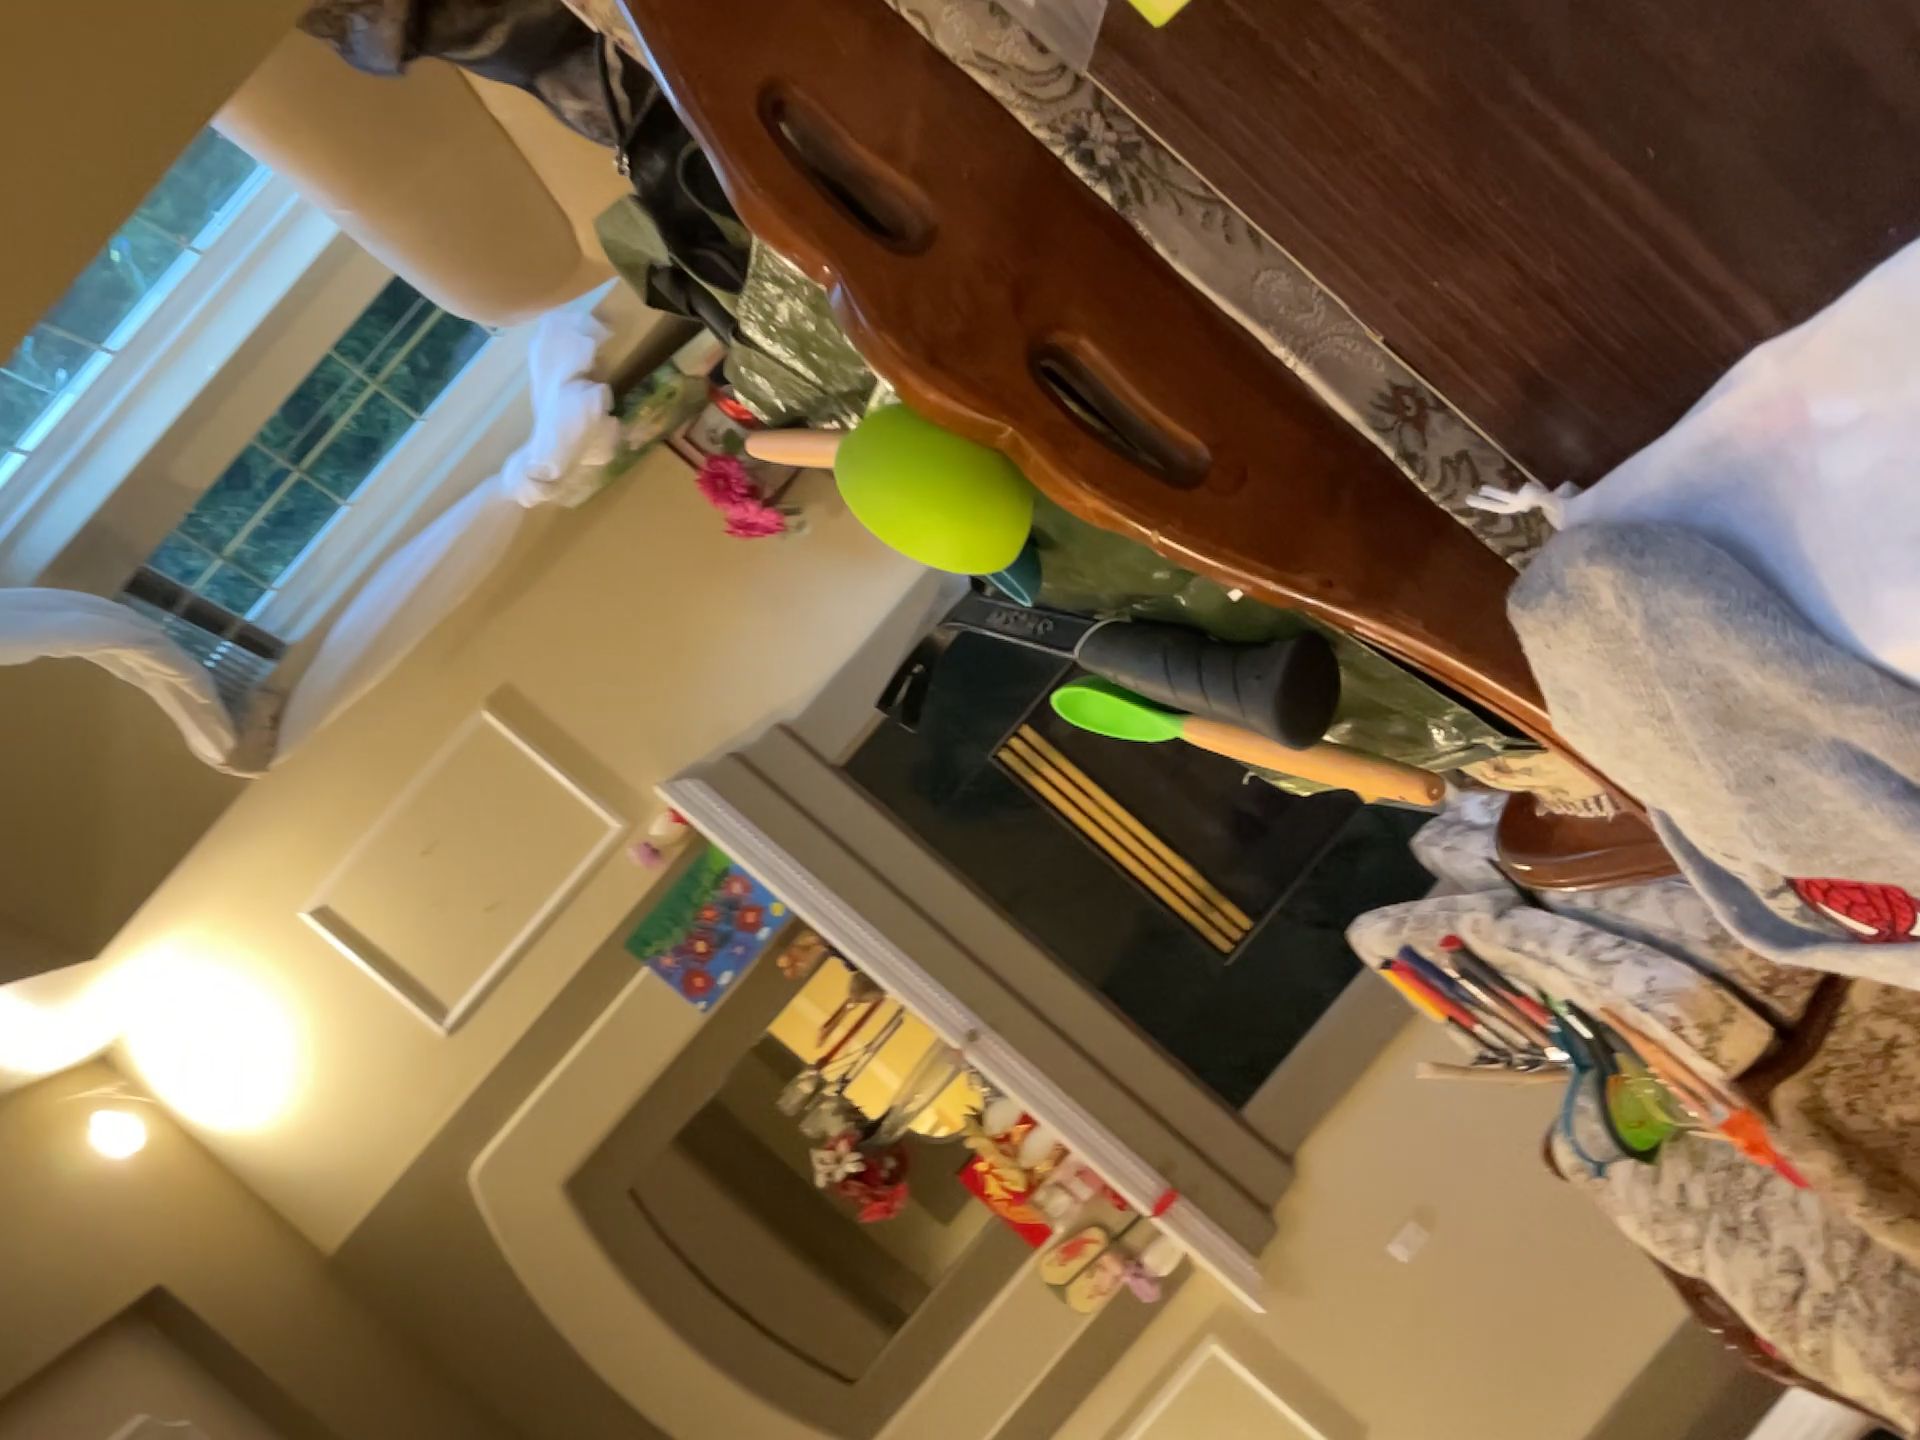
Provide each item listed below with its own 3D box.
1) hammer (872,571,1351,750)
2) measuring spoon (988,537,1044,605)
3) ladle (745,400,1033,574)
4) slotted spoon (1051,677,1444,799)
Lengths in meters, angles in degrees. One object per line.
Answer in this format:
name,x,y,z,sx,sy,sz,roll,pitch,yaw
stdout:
hammer,0.059,-0.036,0.771,0.036,0.149,0.409,32,177,-23
measuring spoon,-0.001,-0.089,0.712,0.042,0.021,0.129,44,177,-42
ladle,-0.054,-0.109,0.702,0.078,0.062,0.320,14,-176,-23
slotted spoon,0.129,0.008,0.766,0.070,0.031,0.314,25,177,-22
